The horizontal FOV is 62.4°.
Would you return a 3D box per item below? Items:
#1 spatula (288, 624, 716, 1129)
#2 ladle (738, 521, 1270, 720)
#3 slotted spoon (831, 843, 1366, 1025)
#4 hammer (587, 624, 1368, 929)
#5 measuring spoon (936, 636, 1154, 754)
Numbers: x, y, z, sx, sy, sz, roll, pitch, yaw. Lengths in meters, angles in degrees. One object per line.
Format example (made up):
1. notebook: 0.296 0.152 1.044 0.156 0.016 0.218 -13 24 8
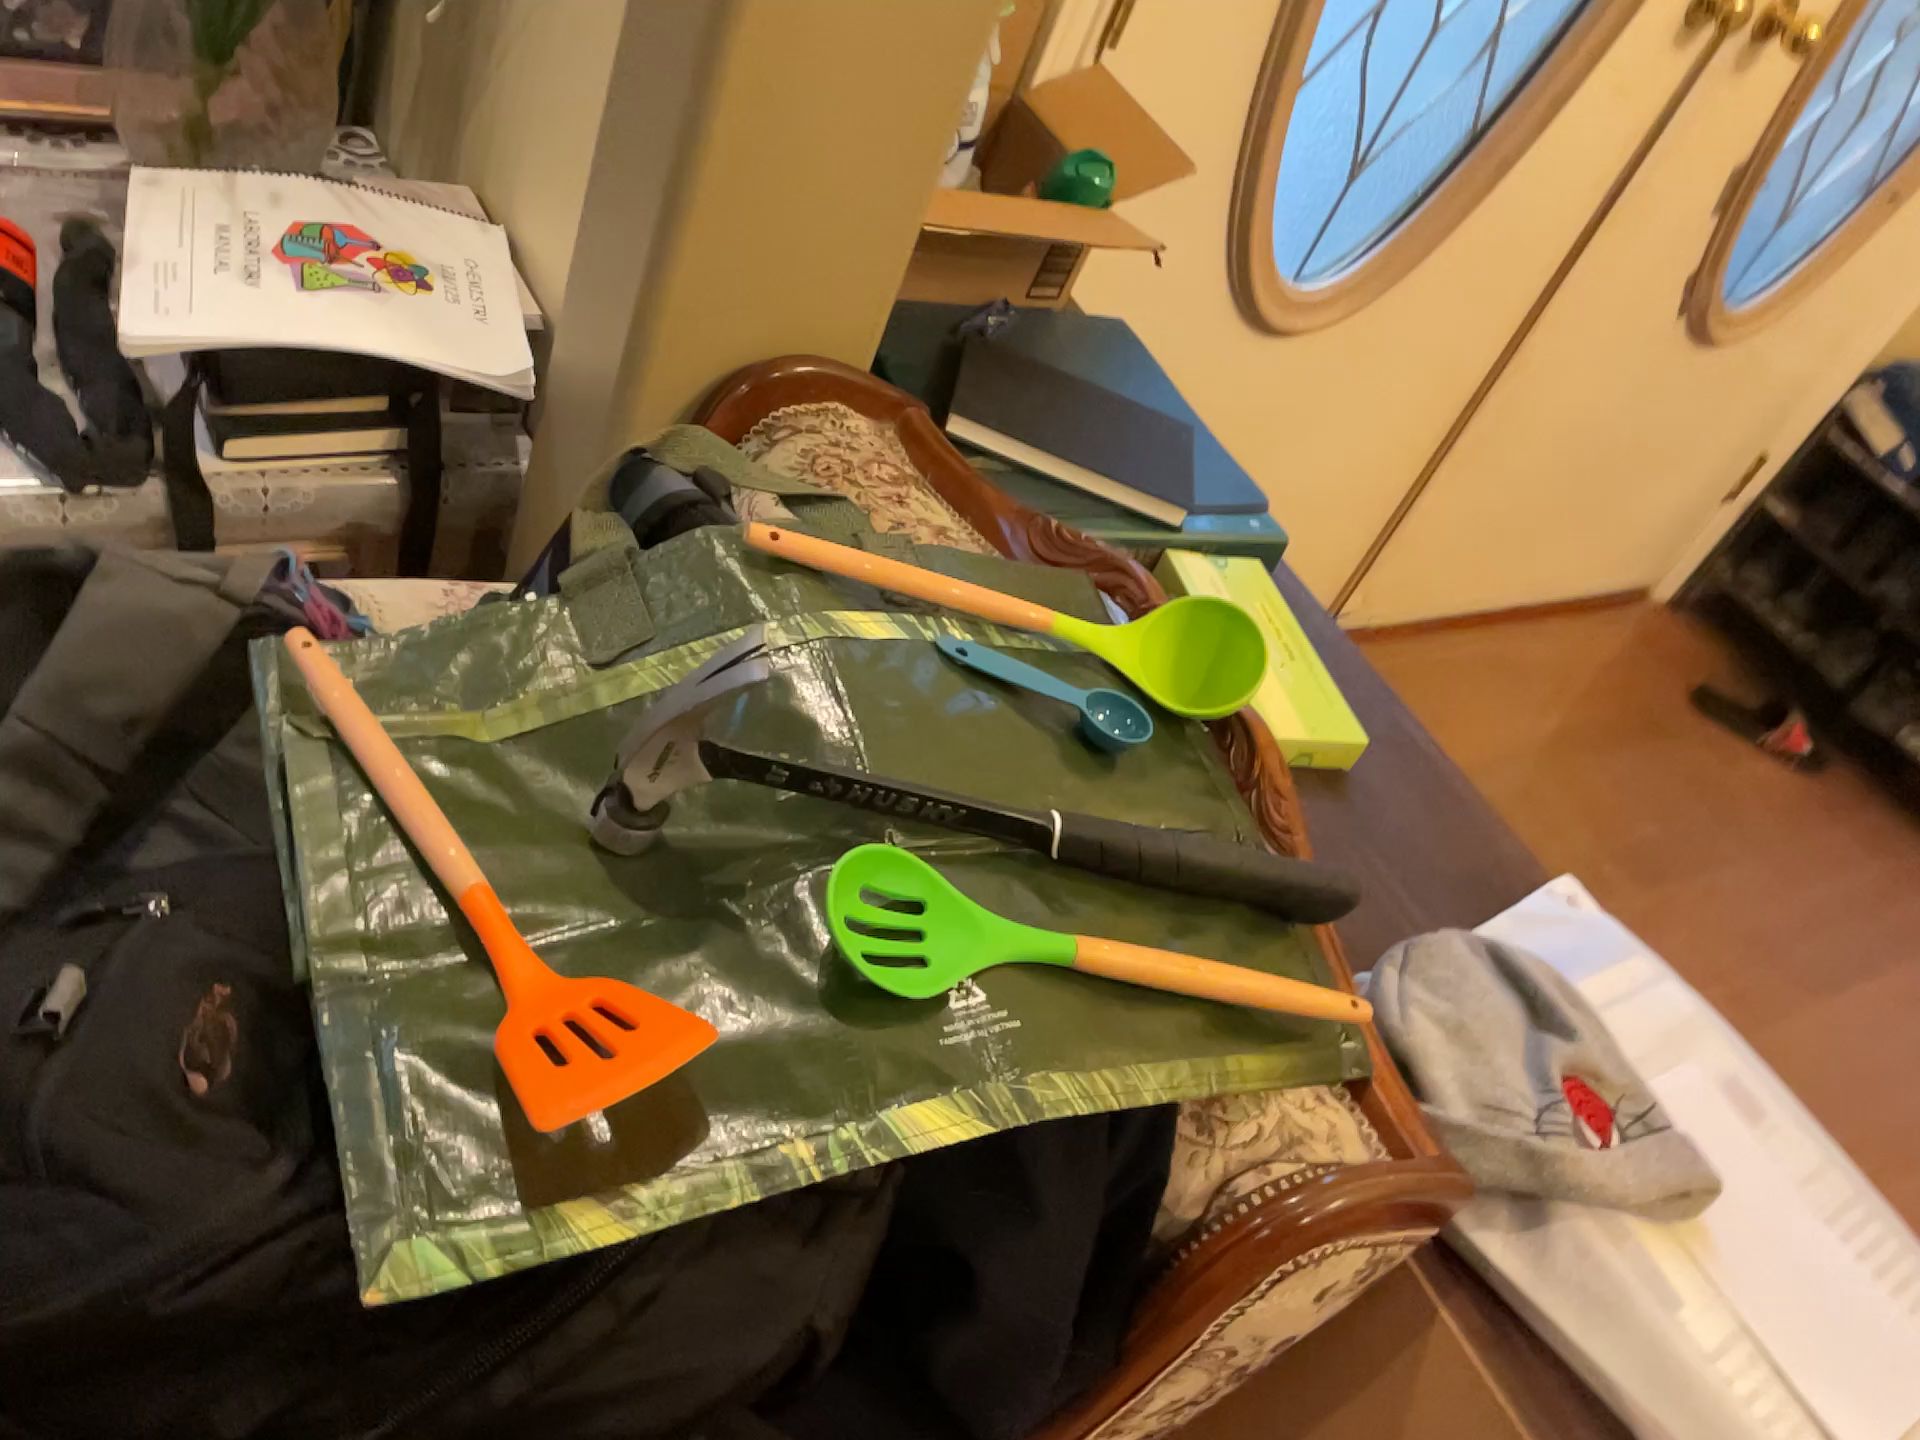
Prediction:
1. spatula: -0.225 0.053 0.698 0.081 0.041 0.323 -23 55 -34
2. ladle: 0.032 -0.065 0.886 0.320 0.062 0.078 15 65 -23
3. slotted spoon: 0.074 0.117 0.757 0.313 0.031 0.070 15 54 -27
4. hammer: 0.035 0.051 0.788 0.408 0.149 0.036 14 48 -24
5. measuring spoon: 0.044 -0.012 0.865 0.128 0.021 0.042 23 37 -5
